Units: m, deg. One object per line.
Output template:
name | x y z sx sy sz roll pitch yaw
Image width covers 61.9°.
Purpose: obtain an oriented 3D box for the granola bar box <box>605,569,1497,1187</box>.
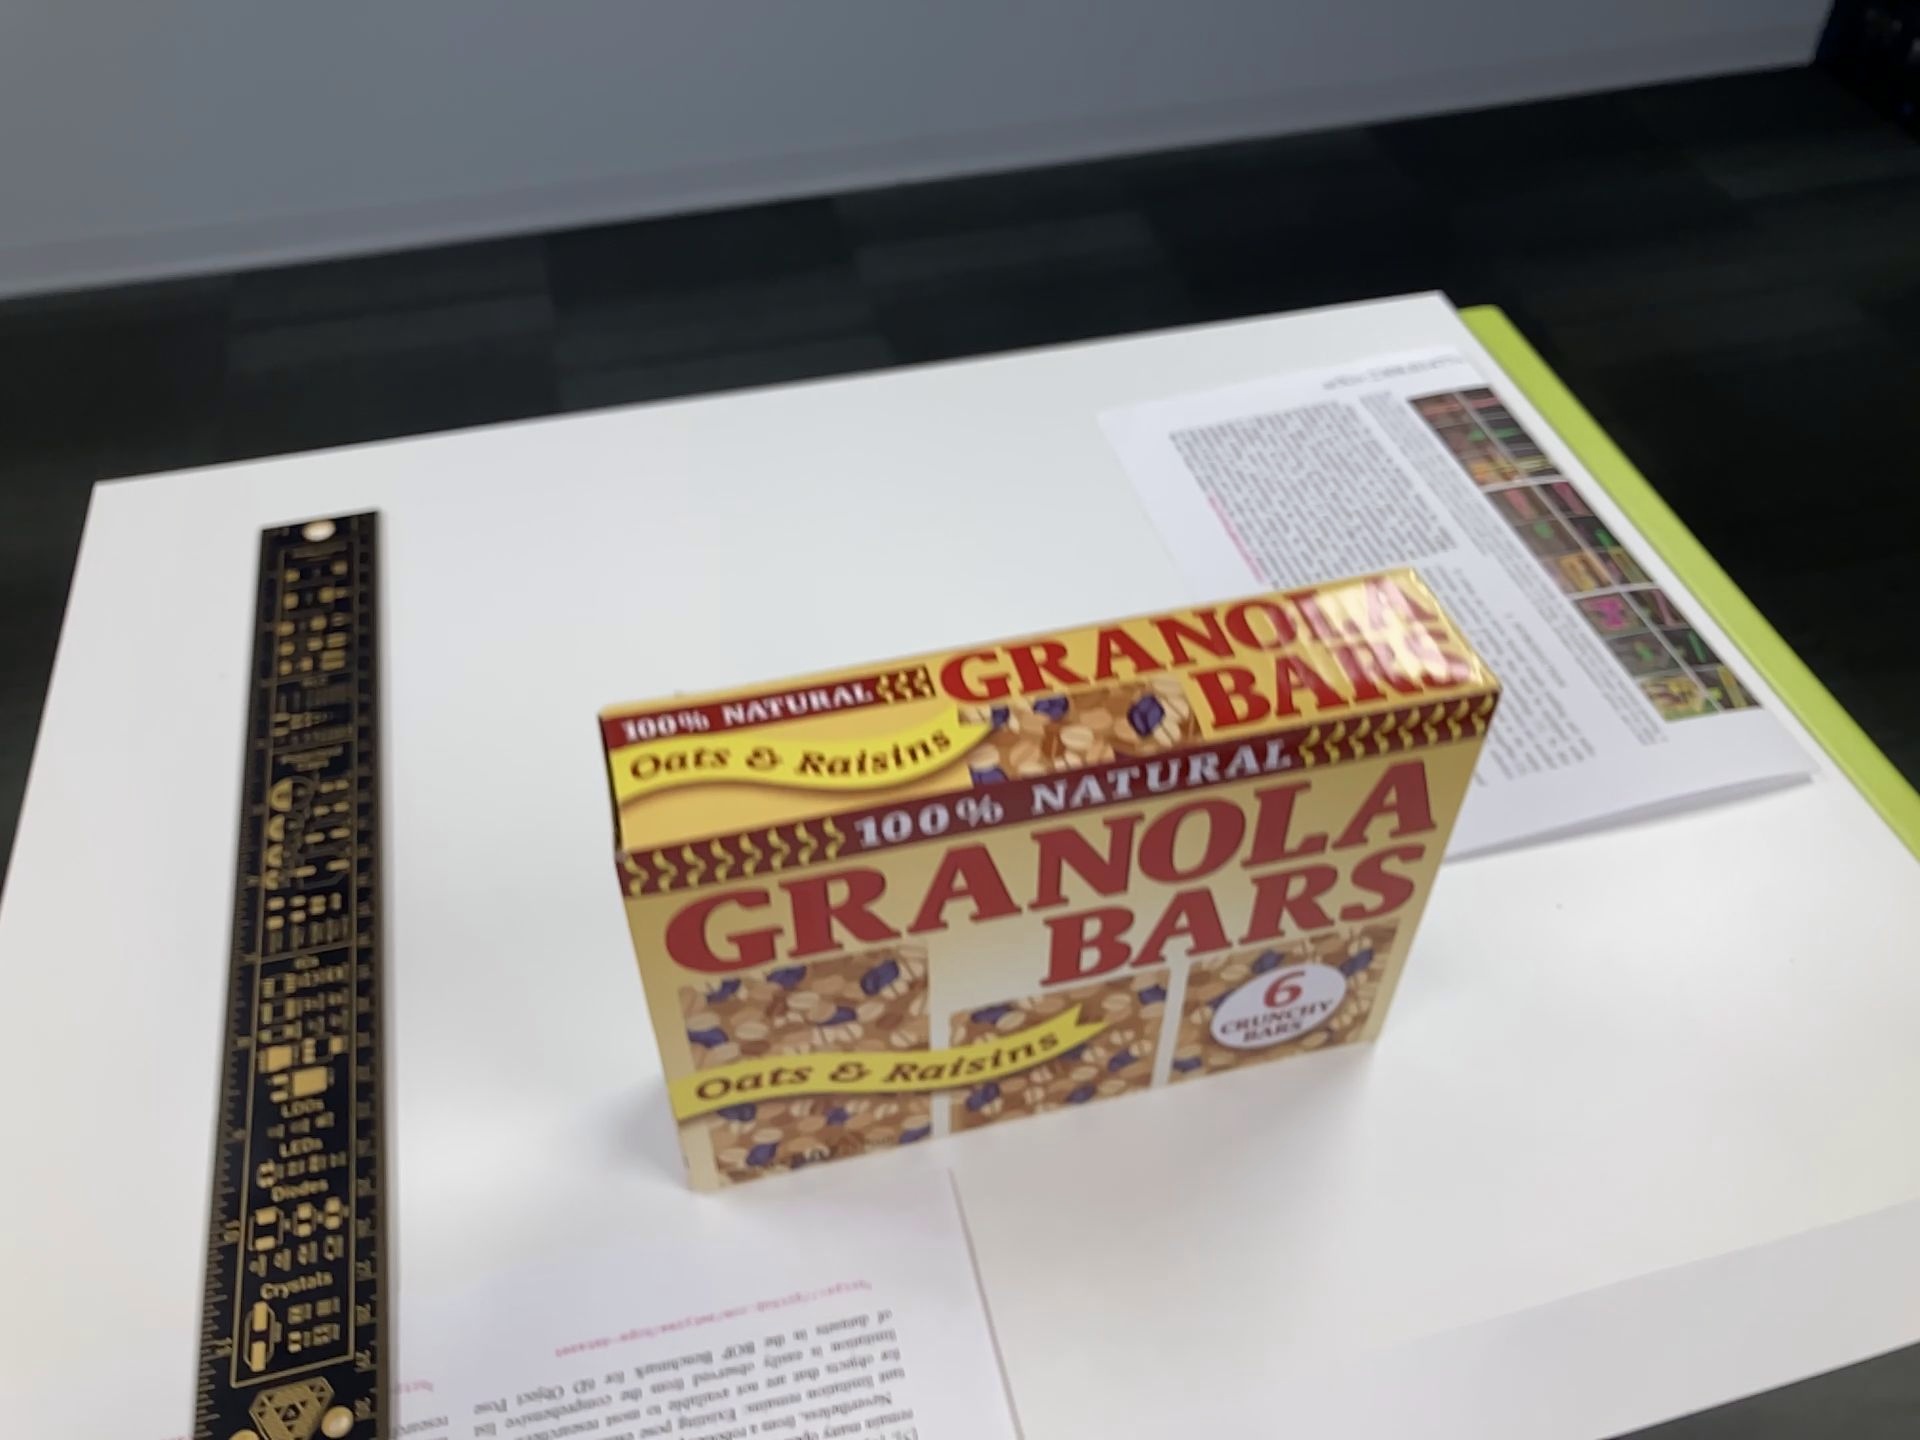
granola bar box | 0.017 0.037 0.344 0.165 0.124 0.039 -11 48 -9
